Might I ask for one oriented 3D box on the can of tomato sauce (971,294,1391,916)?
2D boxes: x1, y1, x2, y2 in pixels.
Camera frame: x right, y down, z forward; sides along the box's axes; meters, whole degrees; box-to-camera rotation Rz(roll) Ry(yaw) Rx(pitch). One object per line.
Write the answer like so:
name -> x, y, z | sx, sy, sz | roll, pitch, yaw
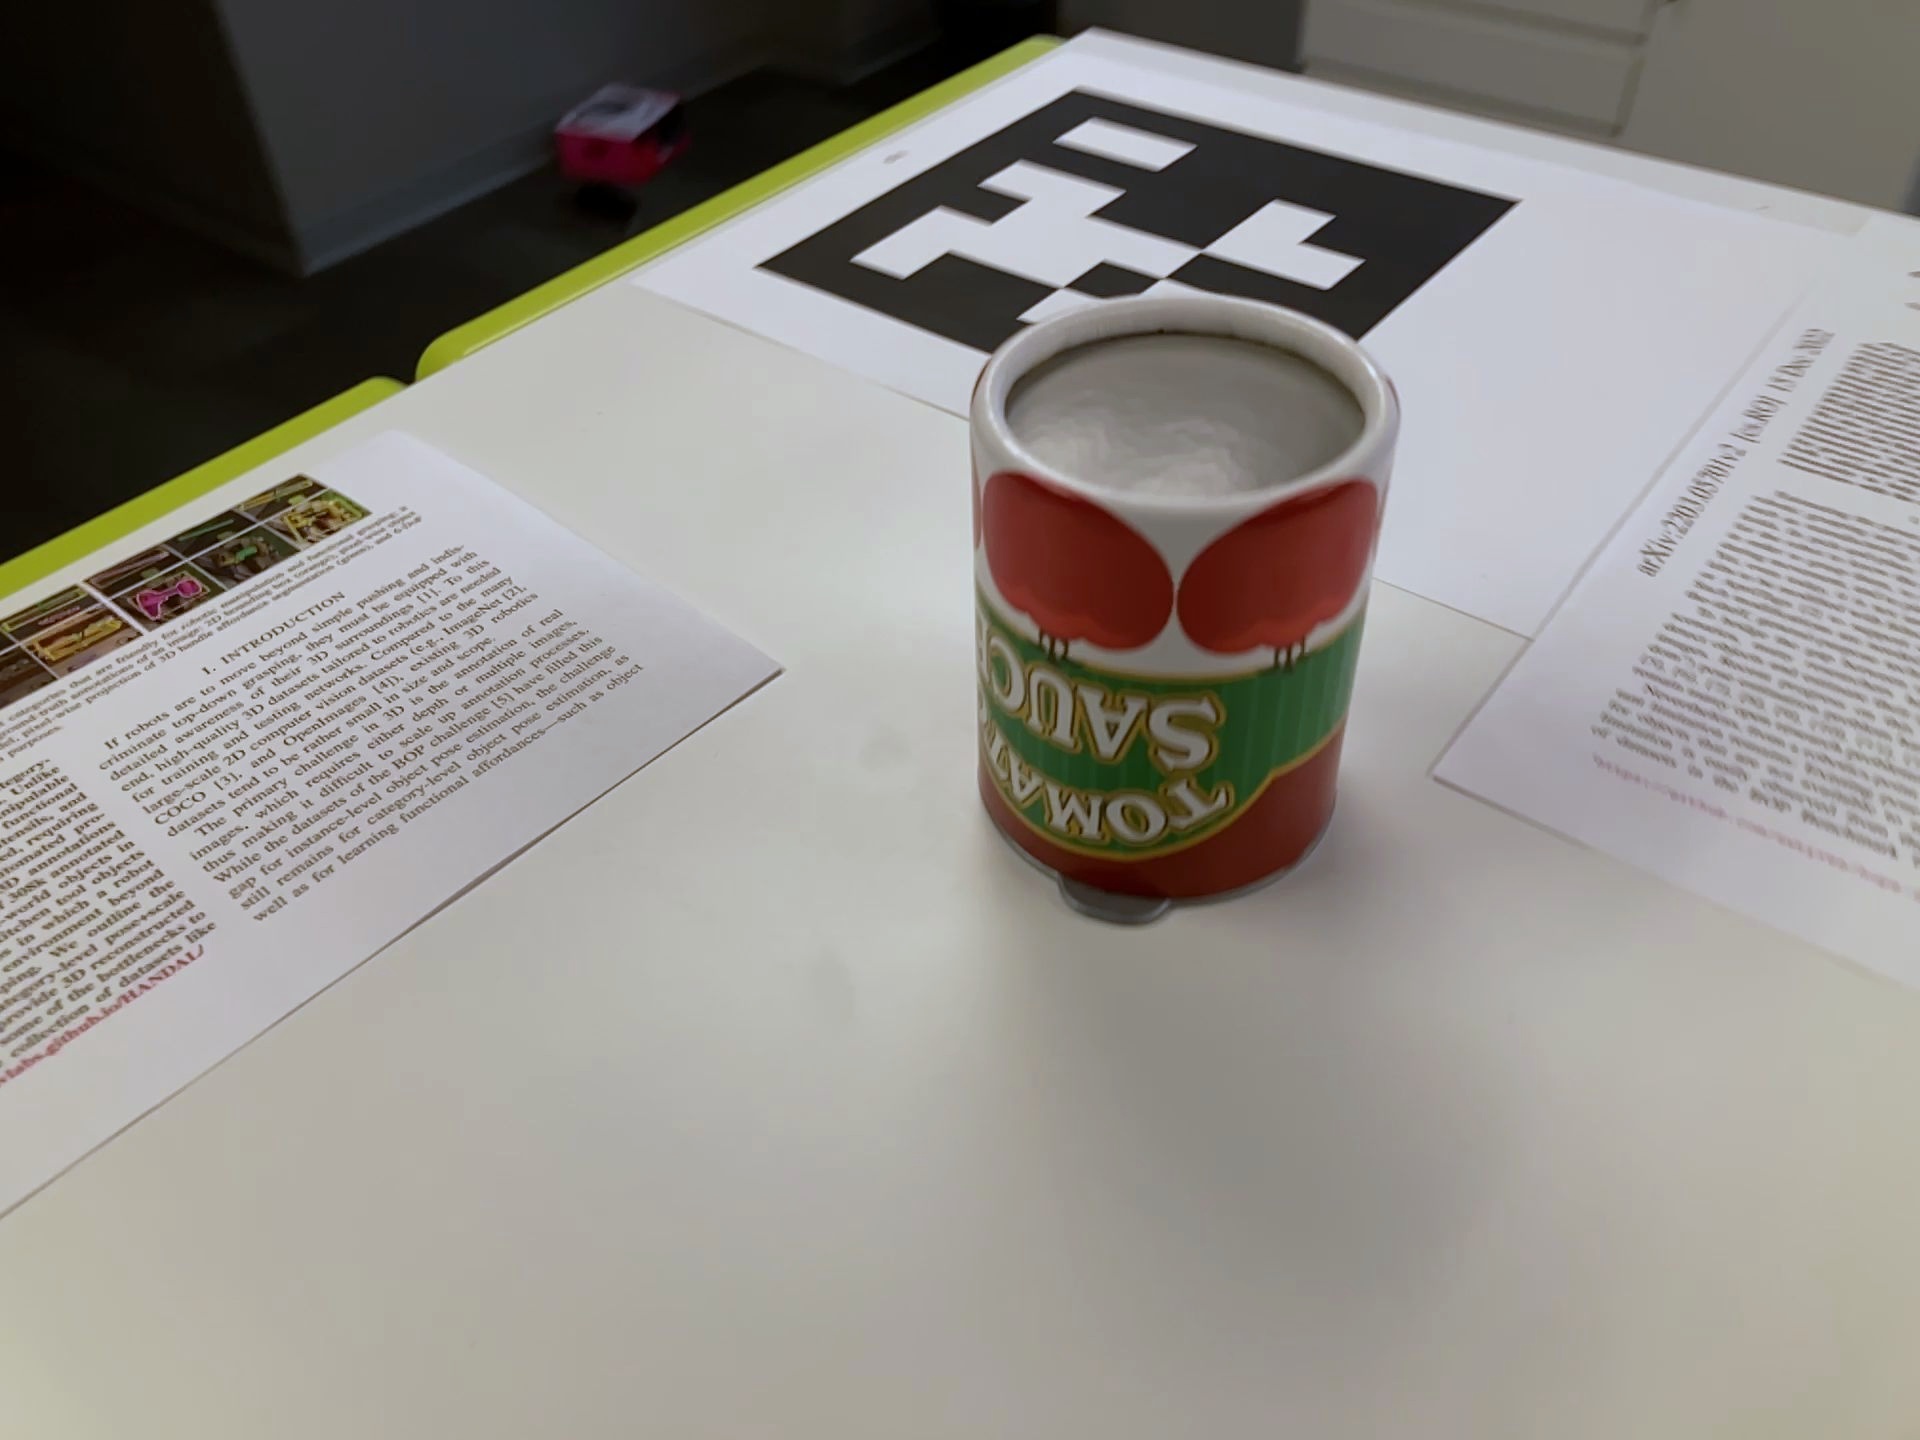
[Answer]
can of tomato sauce -> 0.033, -0.020, 0.274 | 0.071, 0.083, 0.071 | -1, 44, 1
